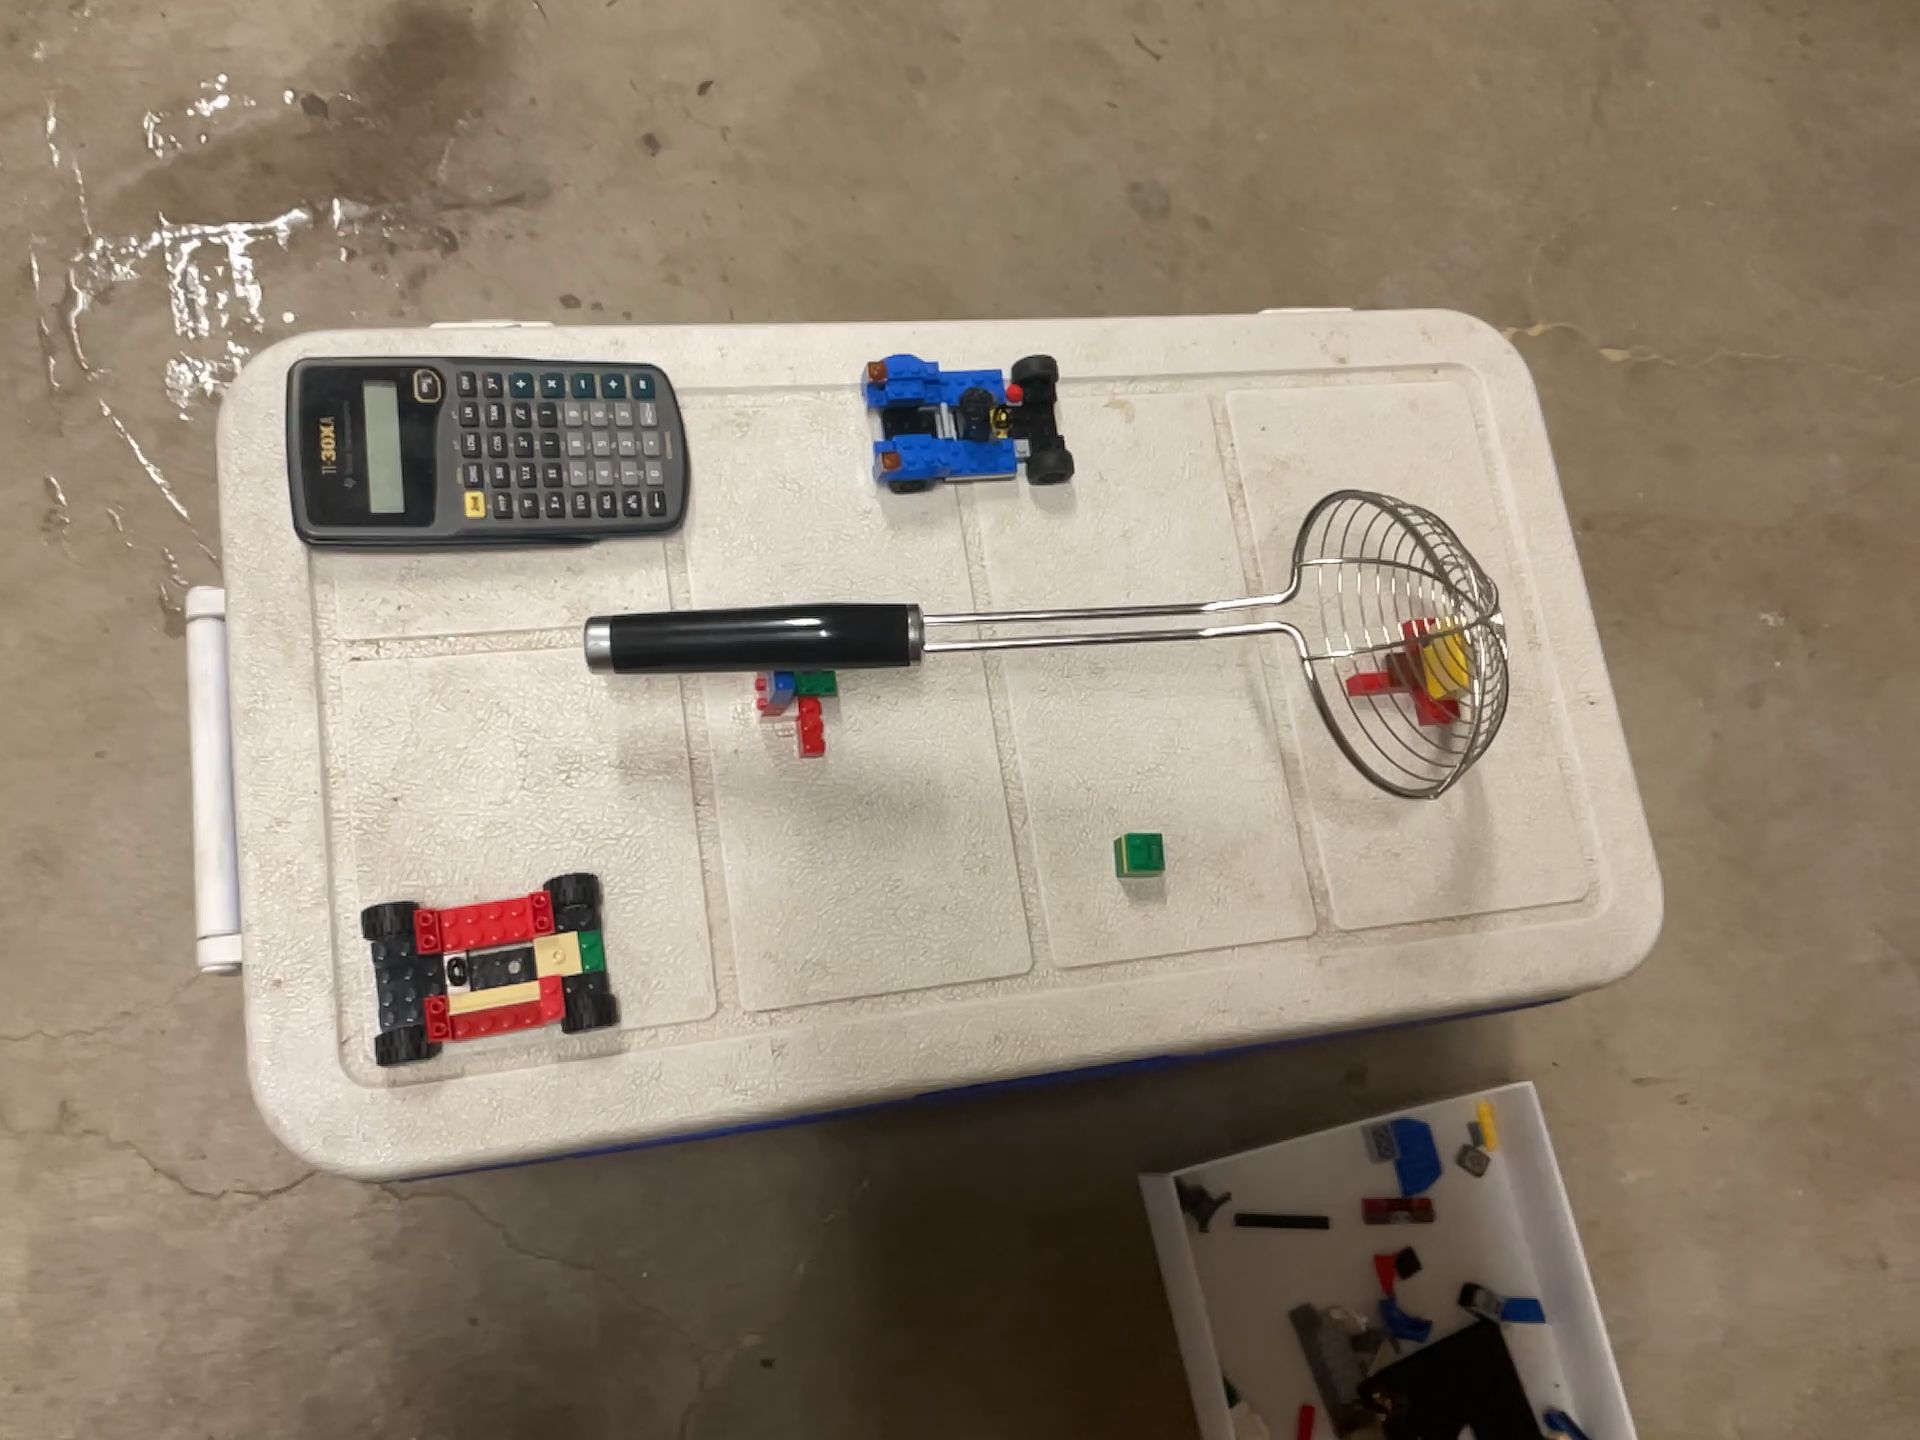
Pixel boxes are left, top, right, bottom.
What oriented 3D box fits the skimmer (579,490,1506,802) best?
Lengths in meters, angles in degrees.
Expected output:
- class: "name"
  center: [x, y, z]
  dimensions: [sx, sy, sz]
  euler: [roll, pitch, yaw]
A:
- class: "skimmer"
  center: [0.041, -0.026, 0.627]
  dimensions: [0.363, 0.090, 0.127]
  euler: [-2, 76, -4]
